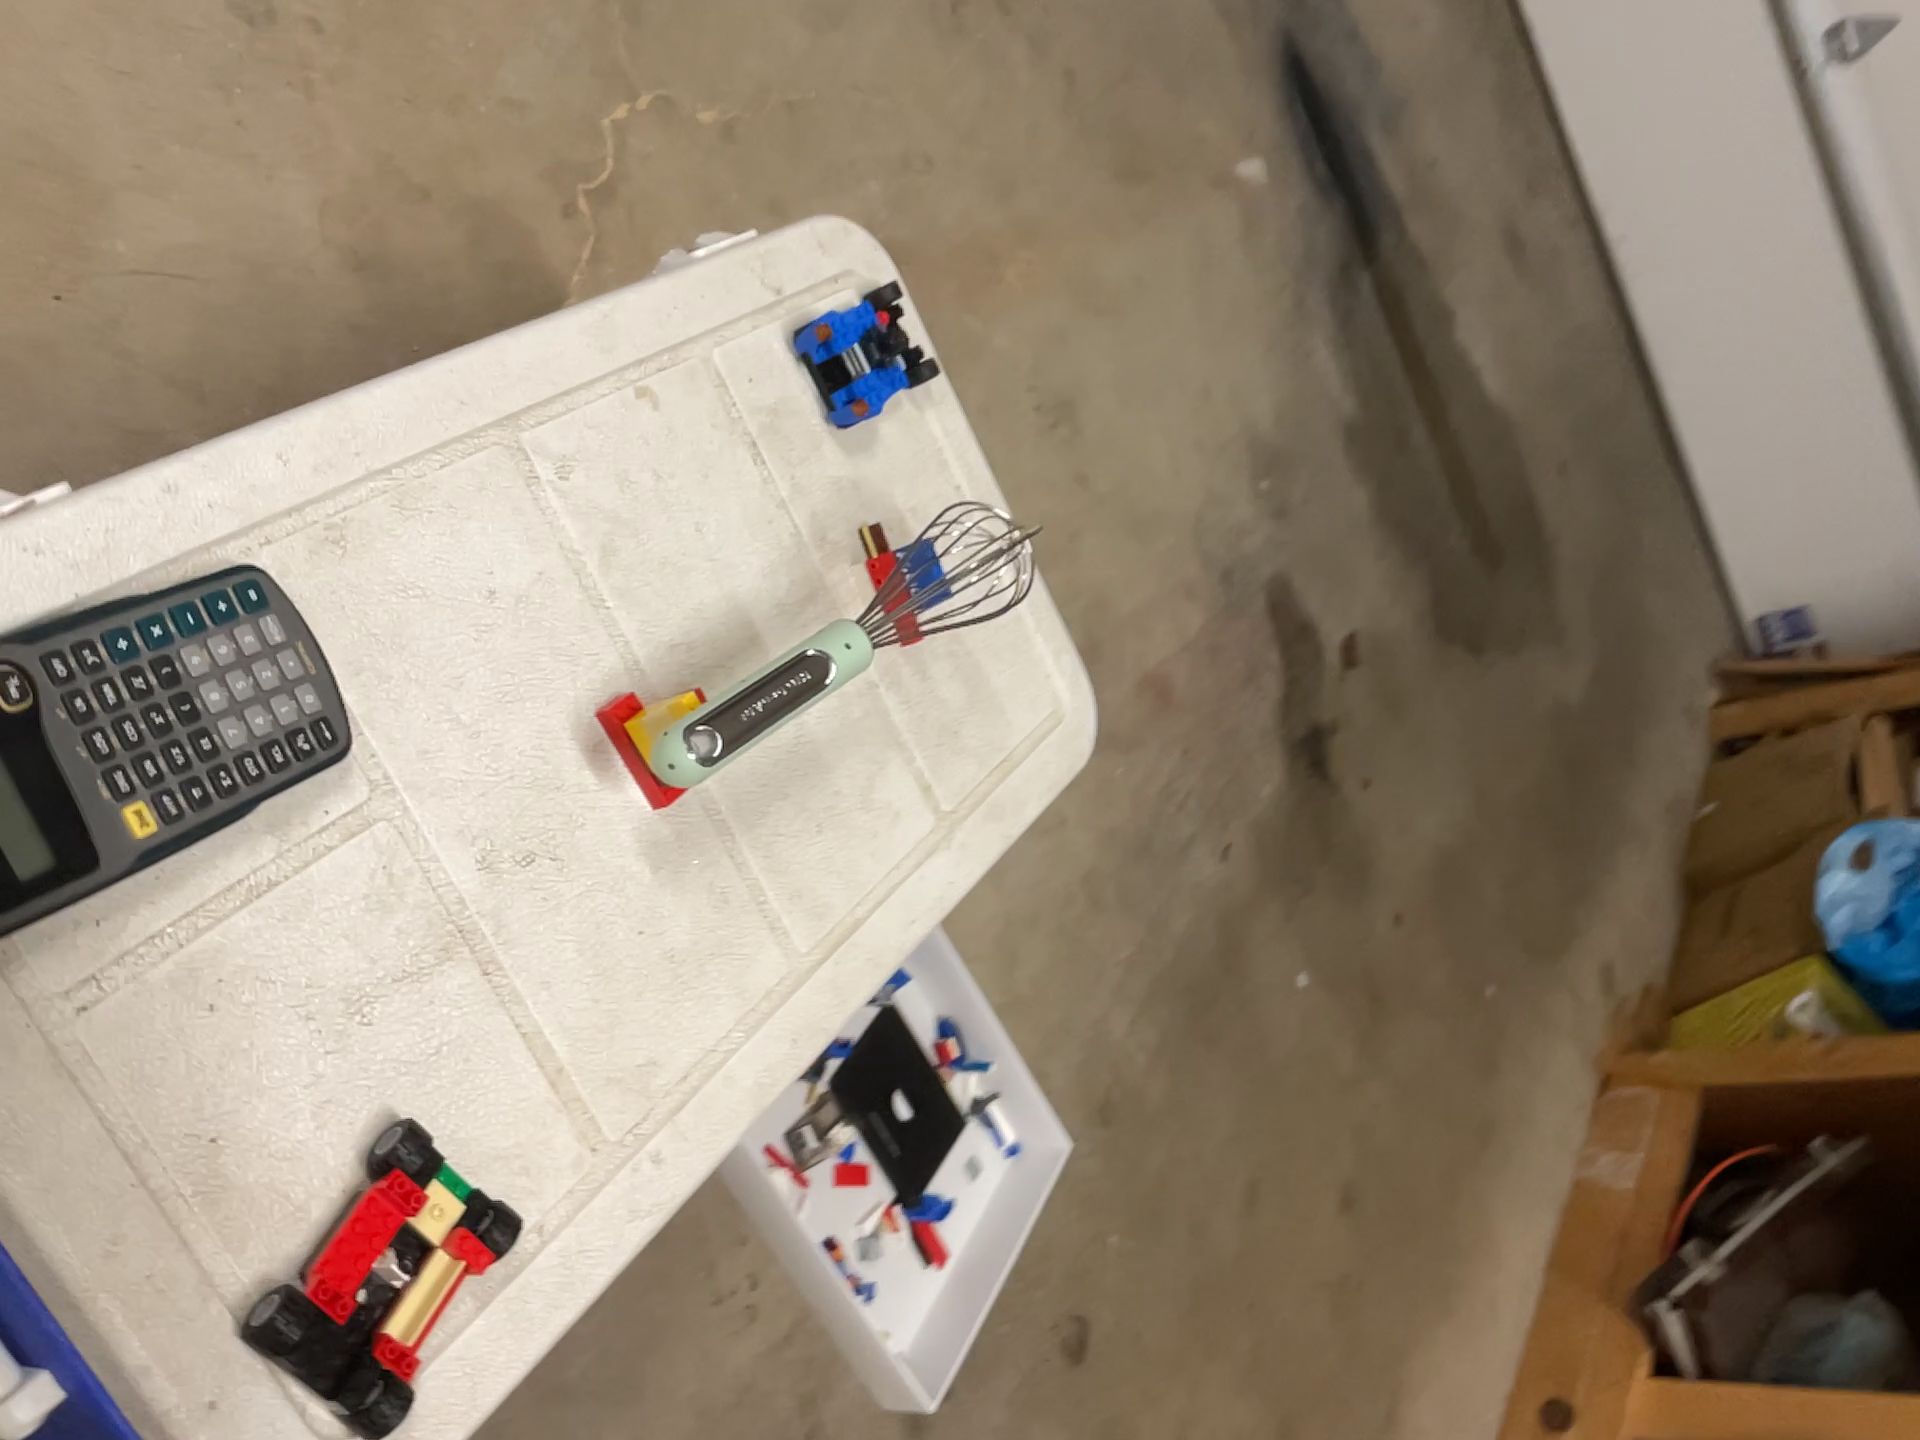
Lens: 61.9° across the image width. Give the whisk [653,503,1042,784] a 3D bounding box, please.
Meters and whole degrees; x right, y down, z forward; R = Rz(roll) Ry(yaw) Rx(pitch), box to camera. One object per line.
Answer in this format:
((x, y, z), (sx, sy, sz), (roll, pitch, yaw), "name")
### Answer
((-0.042, -0.037, 0.702), (0.246, 0.059, 0.058), (-37, 100, -43), "whisk")
